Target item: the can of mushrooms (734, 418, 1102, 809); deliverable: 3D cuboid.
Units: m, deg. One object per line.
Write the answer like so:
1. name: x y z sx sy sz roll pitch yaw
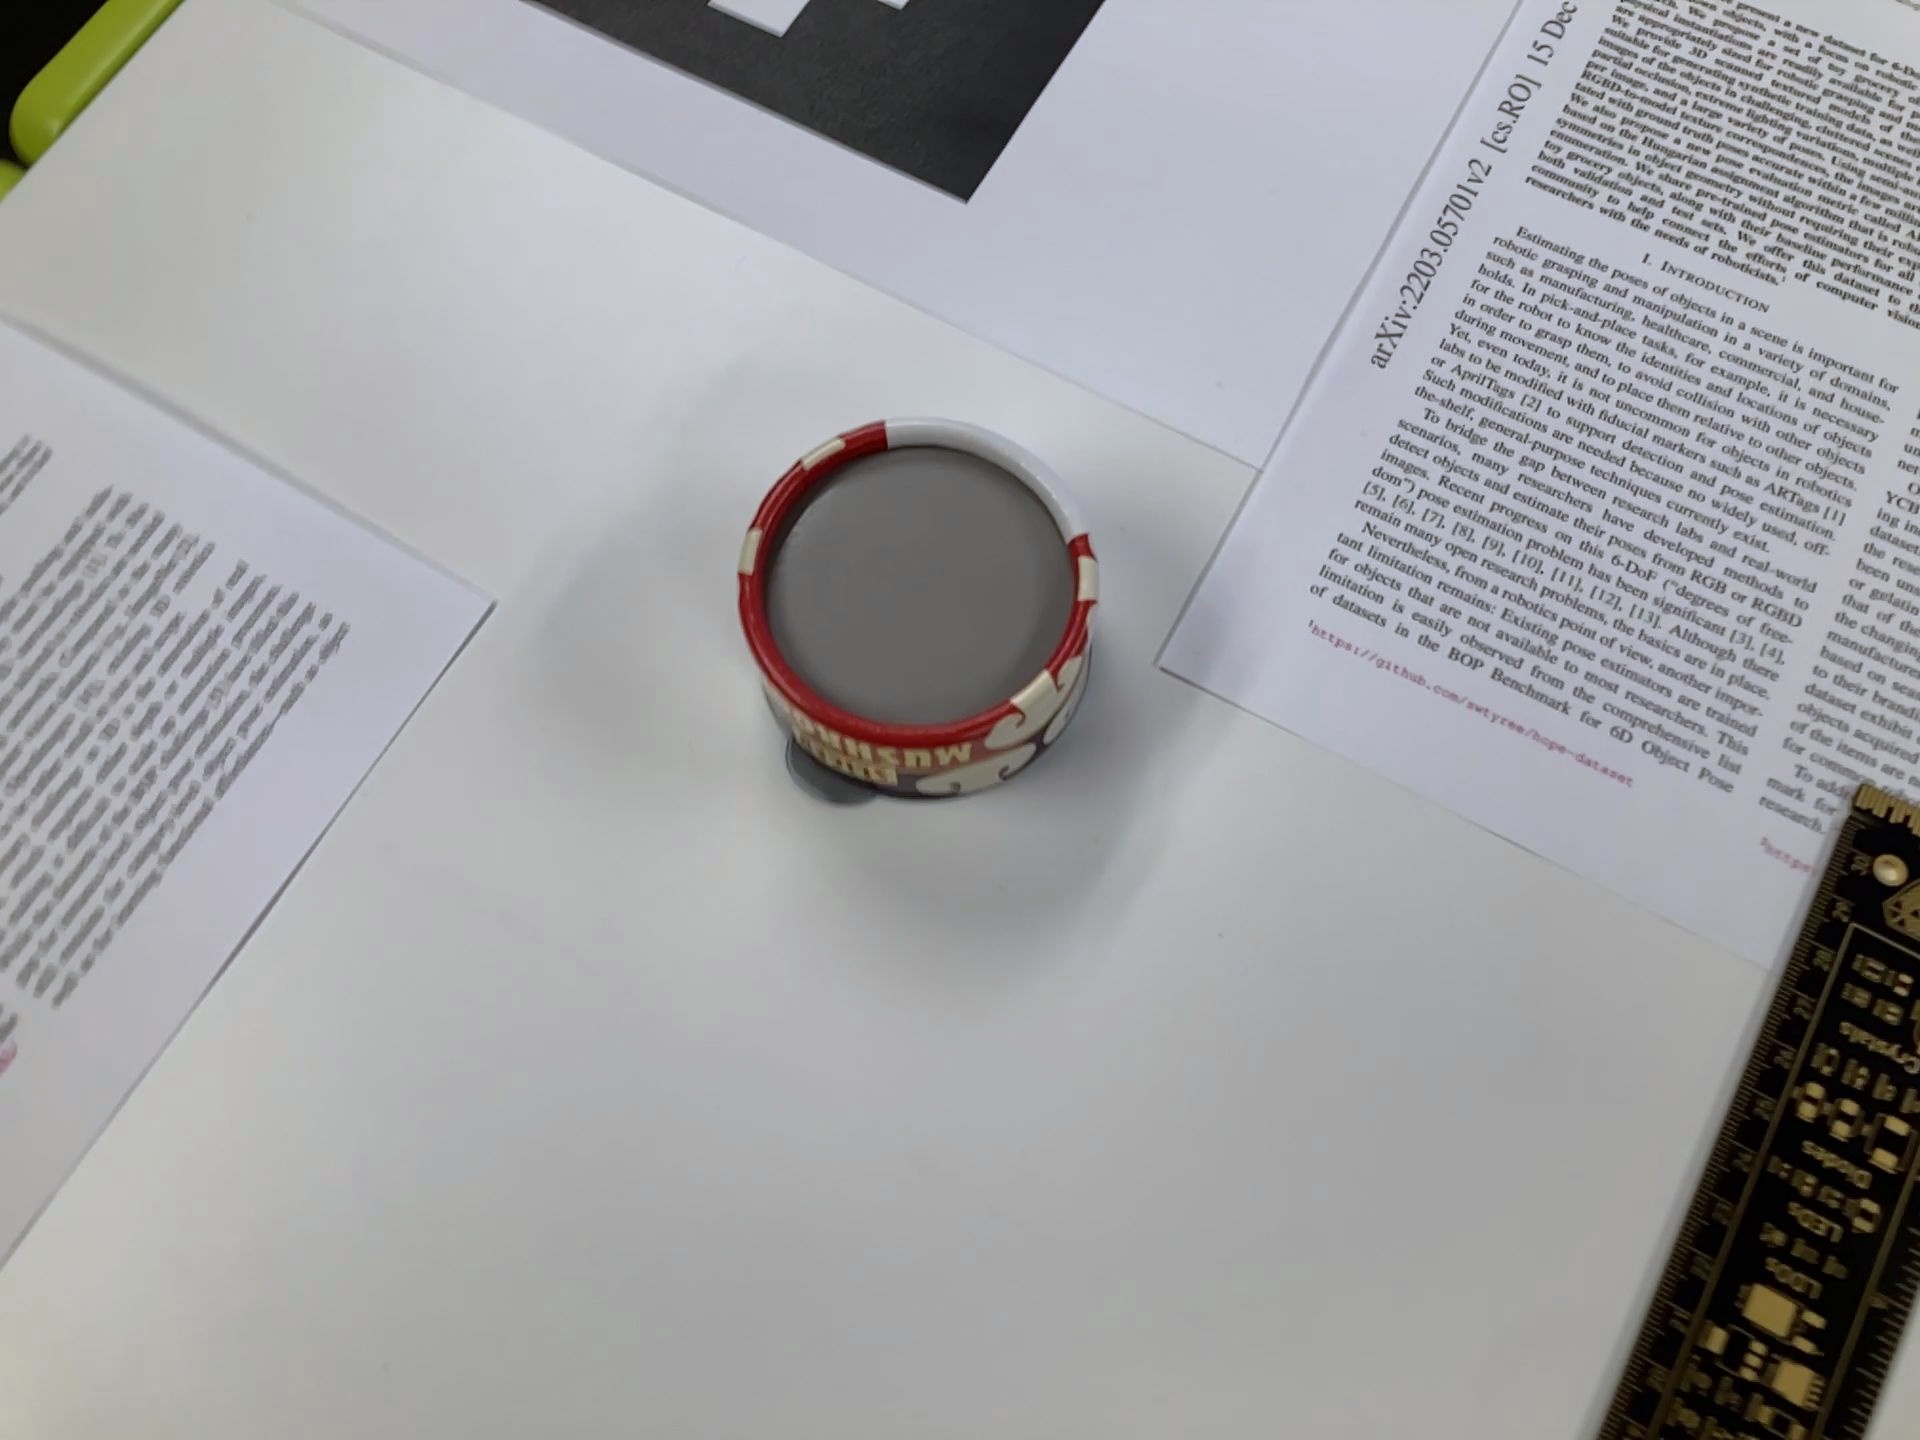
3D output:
1. can of mushrooms: -0.008 -0.019 0.294 0.071 0.033 0.071 0 71 1
